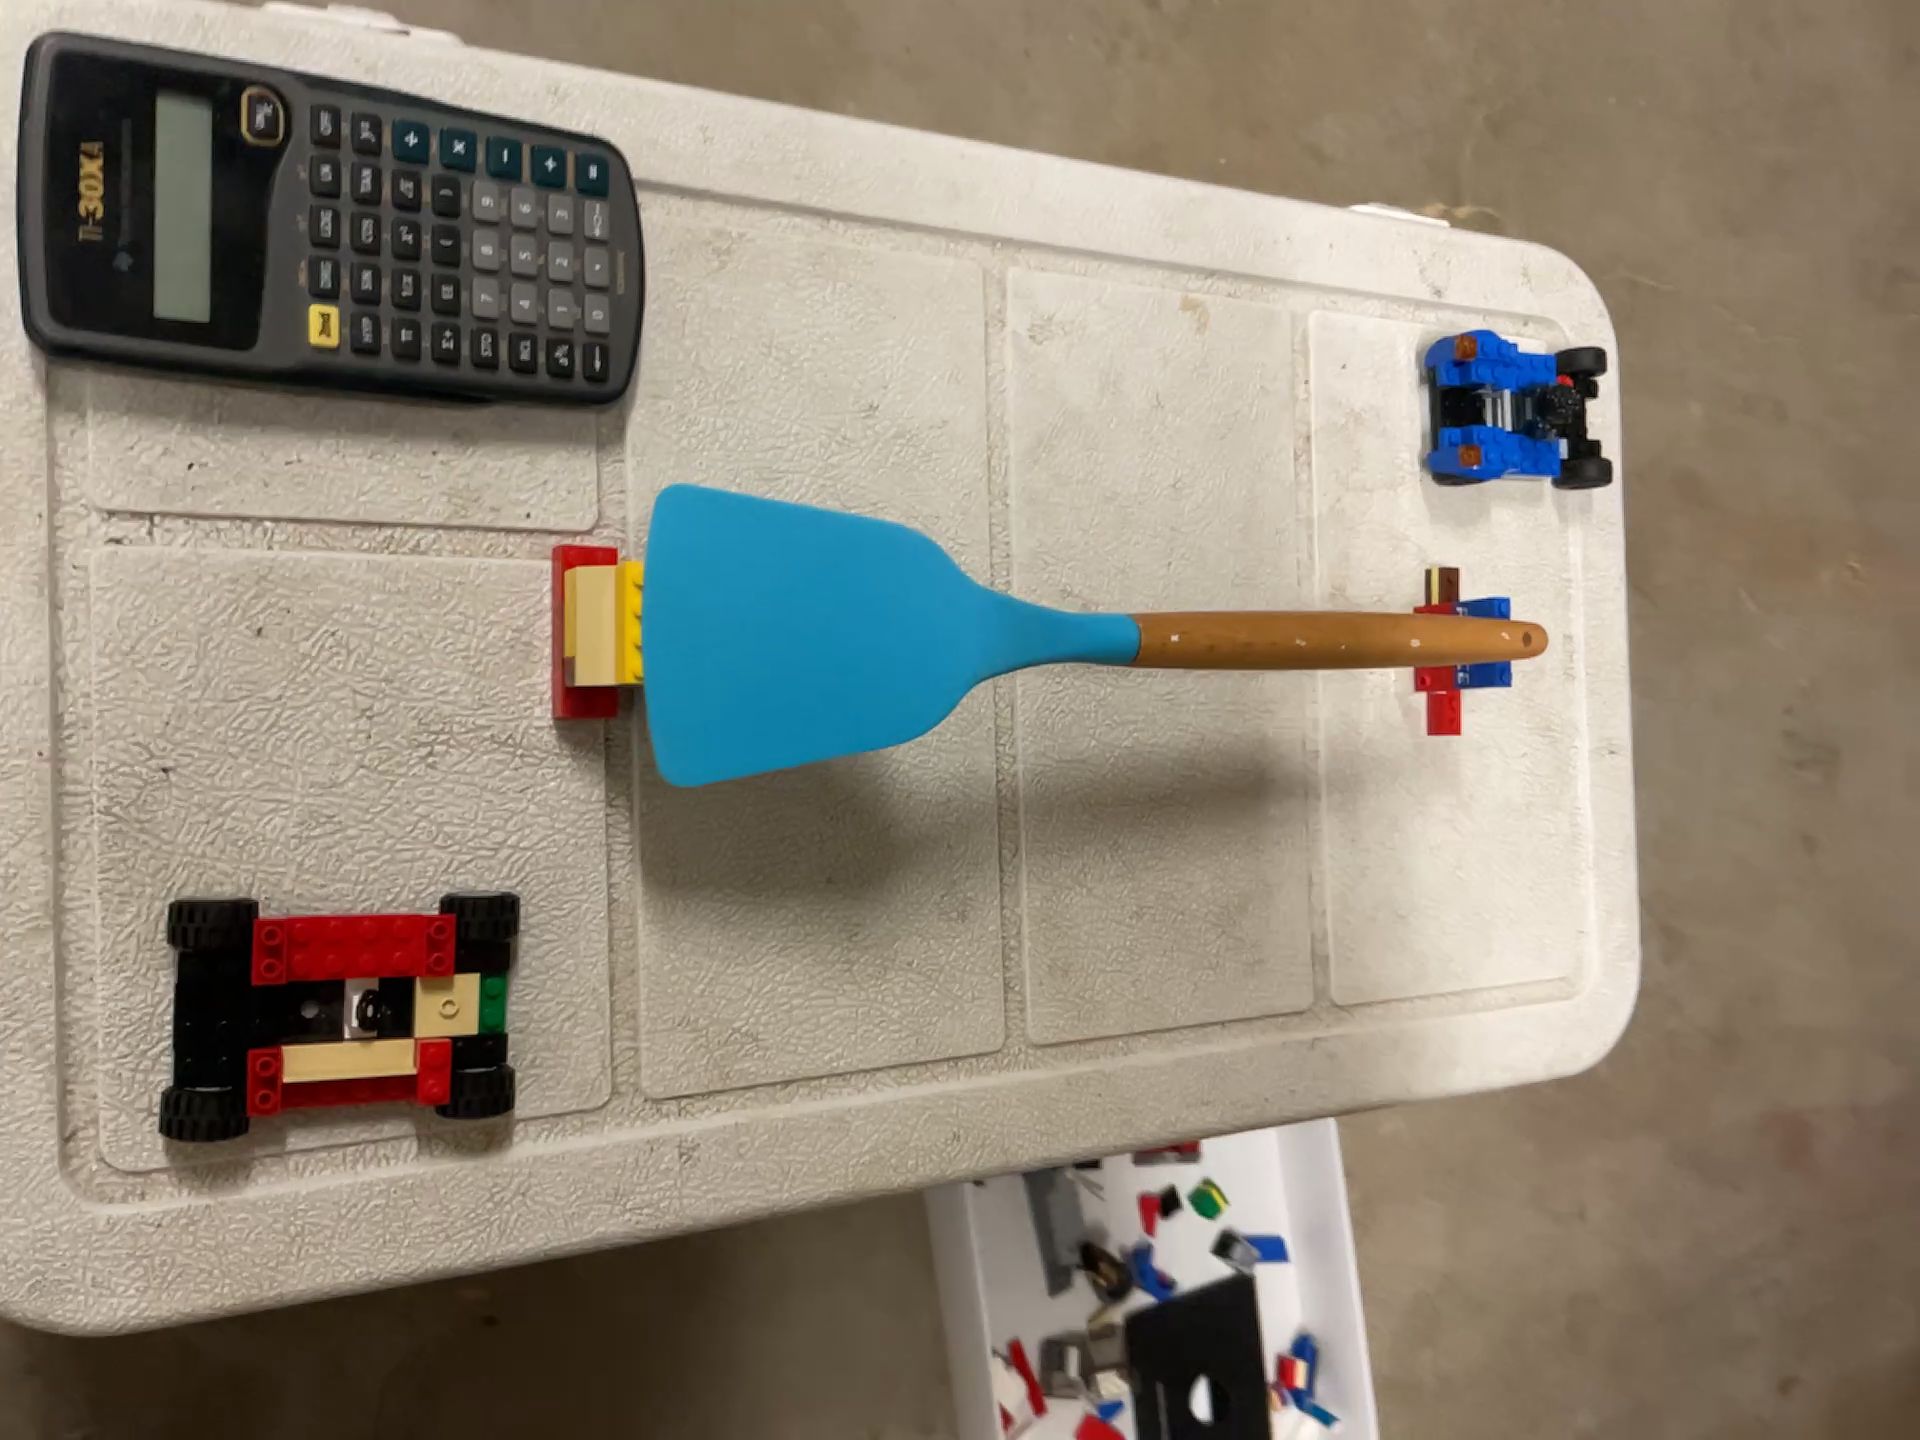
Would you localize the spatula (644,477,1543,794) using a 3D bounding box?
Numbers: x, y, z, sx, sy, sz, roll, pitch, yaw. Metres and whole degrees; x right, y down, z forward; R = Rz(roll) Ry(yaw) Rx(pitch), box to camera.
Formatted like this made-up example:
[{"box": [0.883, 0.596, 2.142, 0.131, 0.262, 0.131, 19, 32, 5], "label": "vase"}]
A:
[{"box": [0.063, -0.025, 0.484, 0.318, 0.044, 0.082, -1, 88, -33], "label": "spatula"}]
